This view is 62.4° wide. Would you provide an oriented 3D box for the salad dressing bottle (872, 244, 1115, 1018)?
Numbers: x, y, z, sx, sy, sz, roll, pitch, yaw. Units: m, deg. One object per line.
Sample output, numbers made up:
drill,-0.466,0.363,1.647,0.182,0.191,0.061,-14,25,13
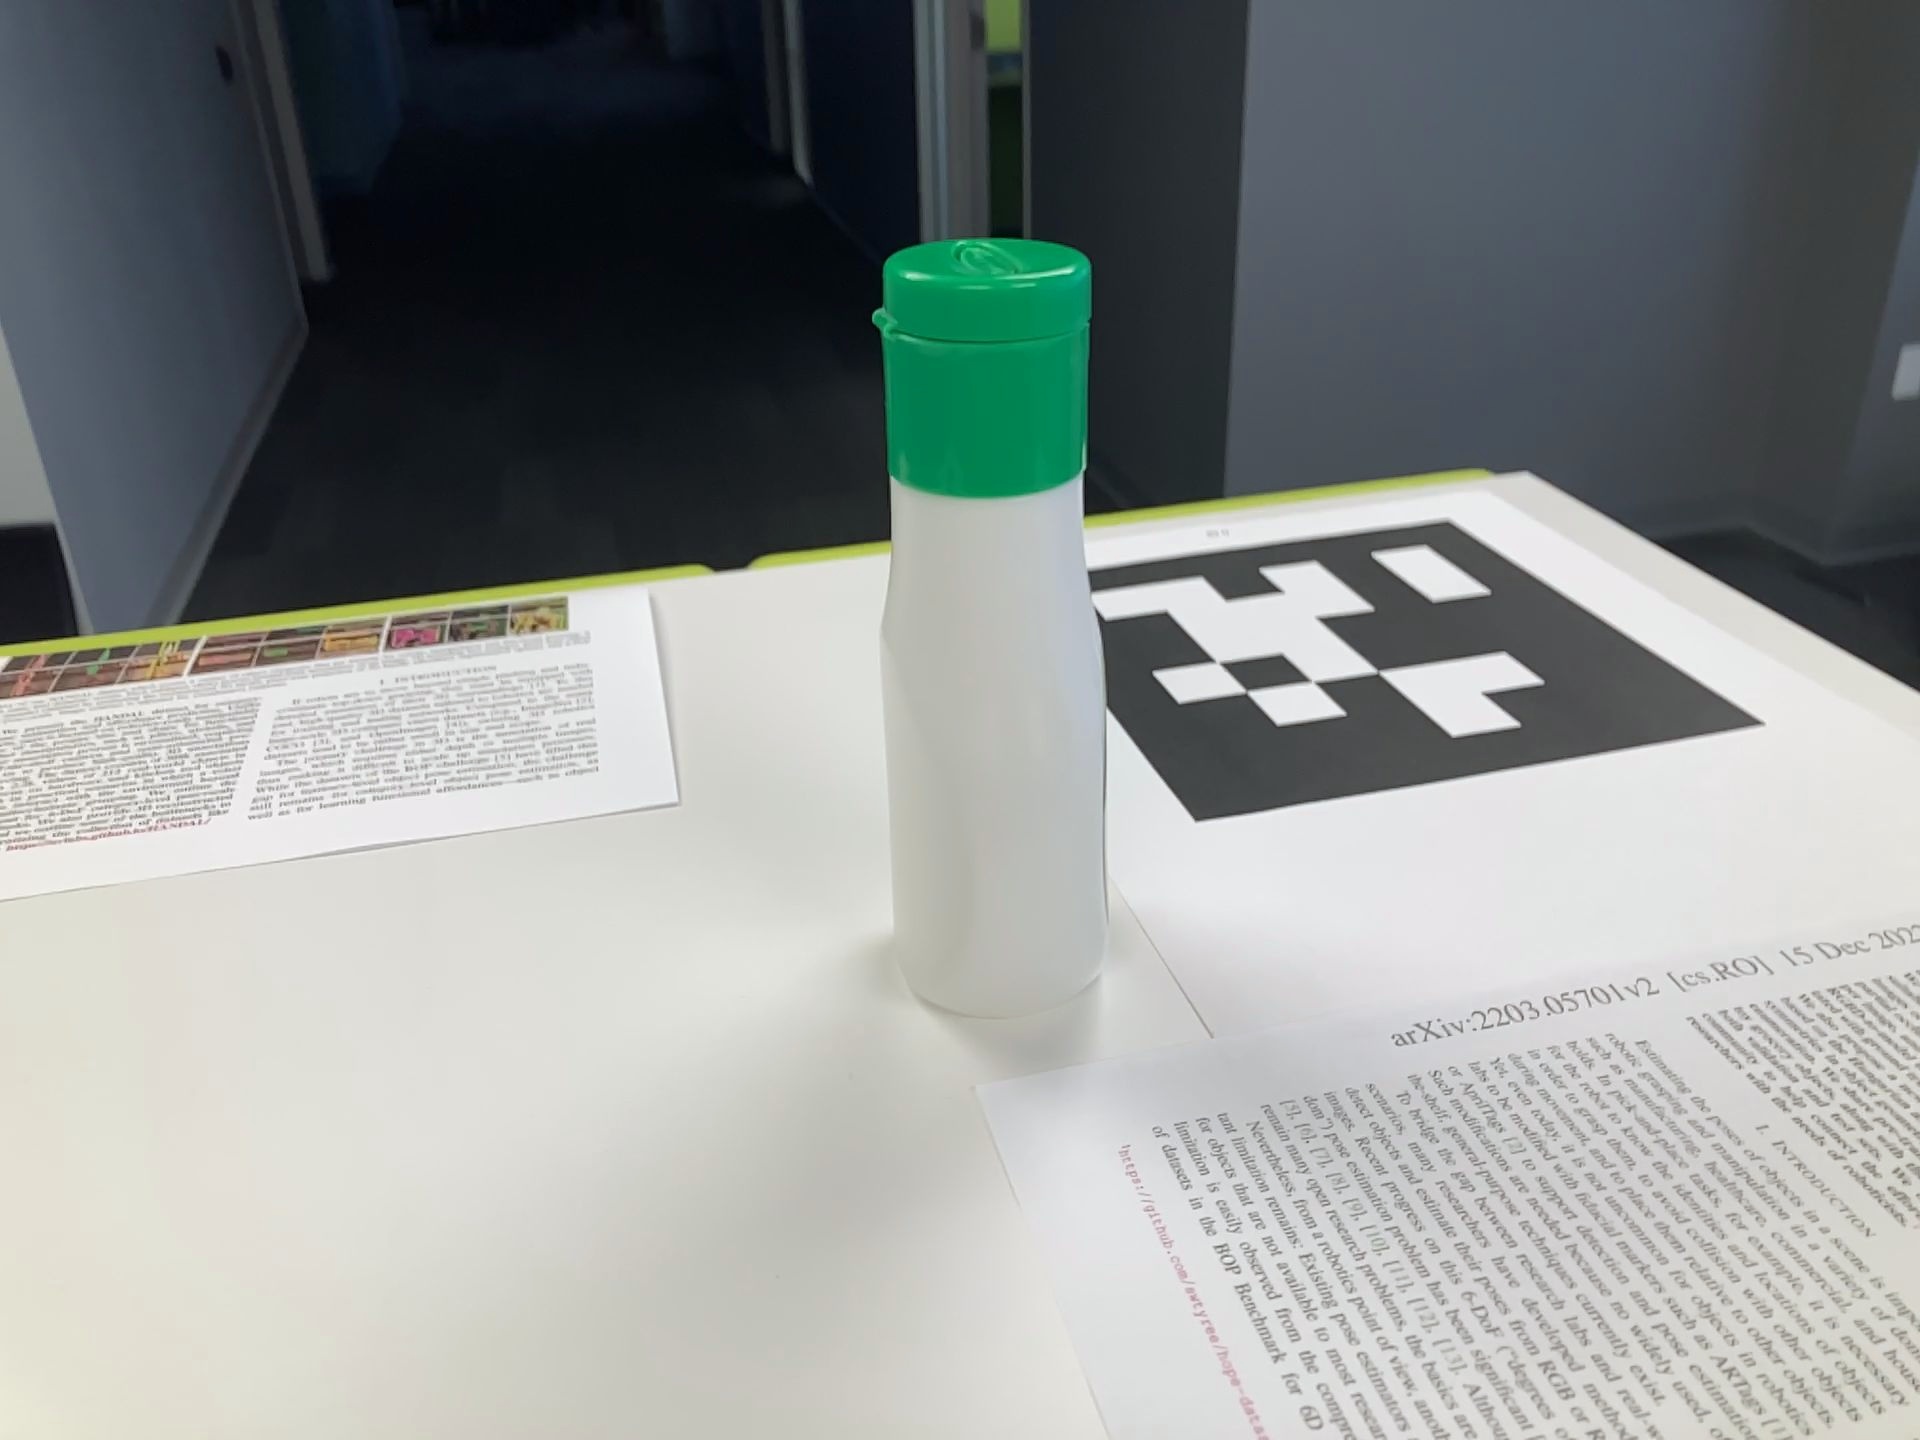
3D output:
salad dressing bottle,0.007,-0.014,0.307,0.044,0.147,0.064,-8,28,-11
